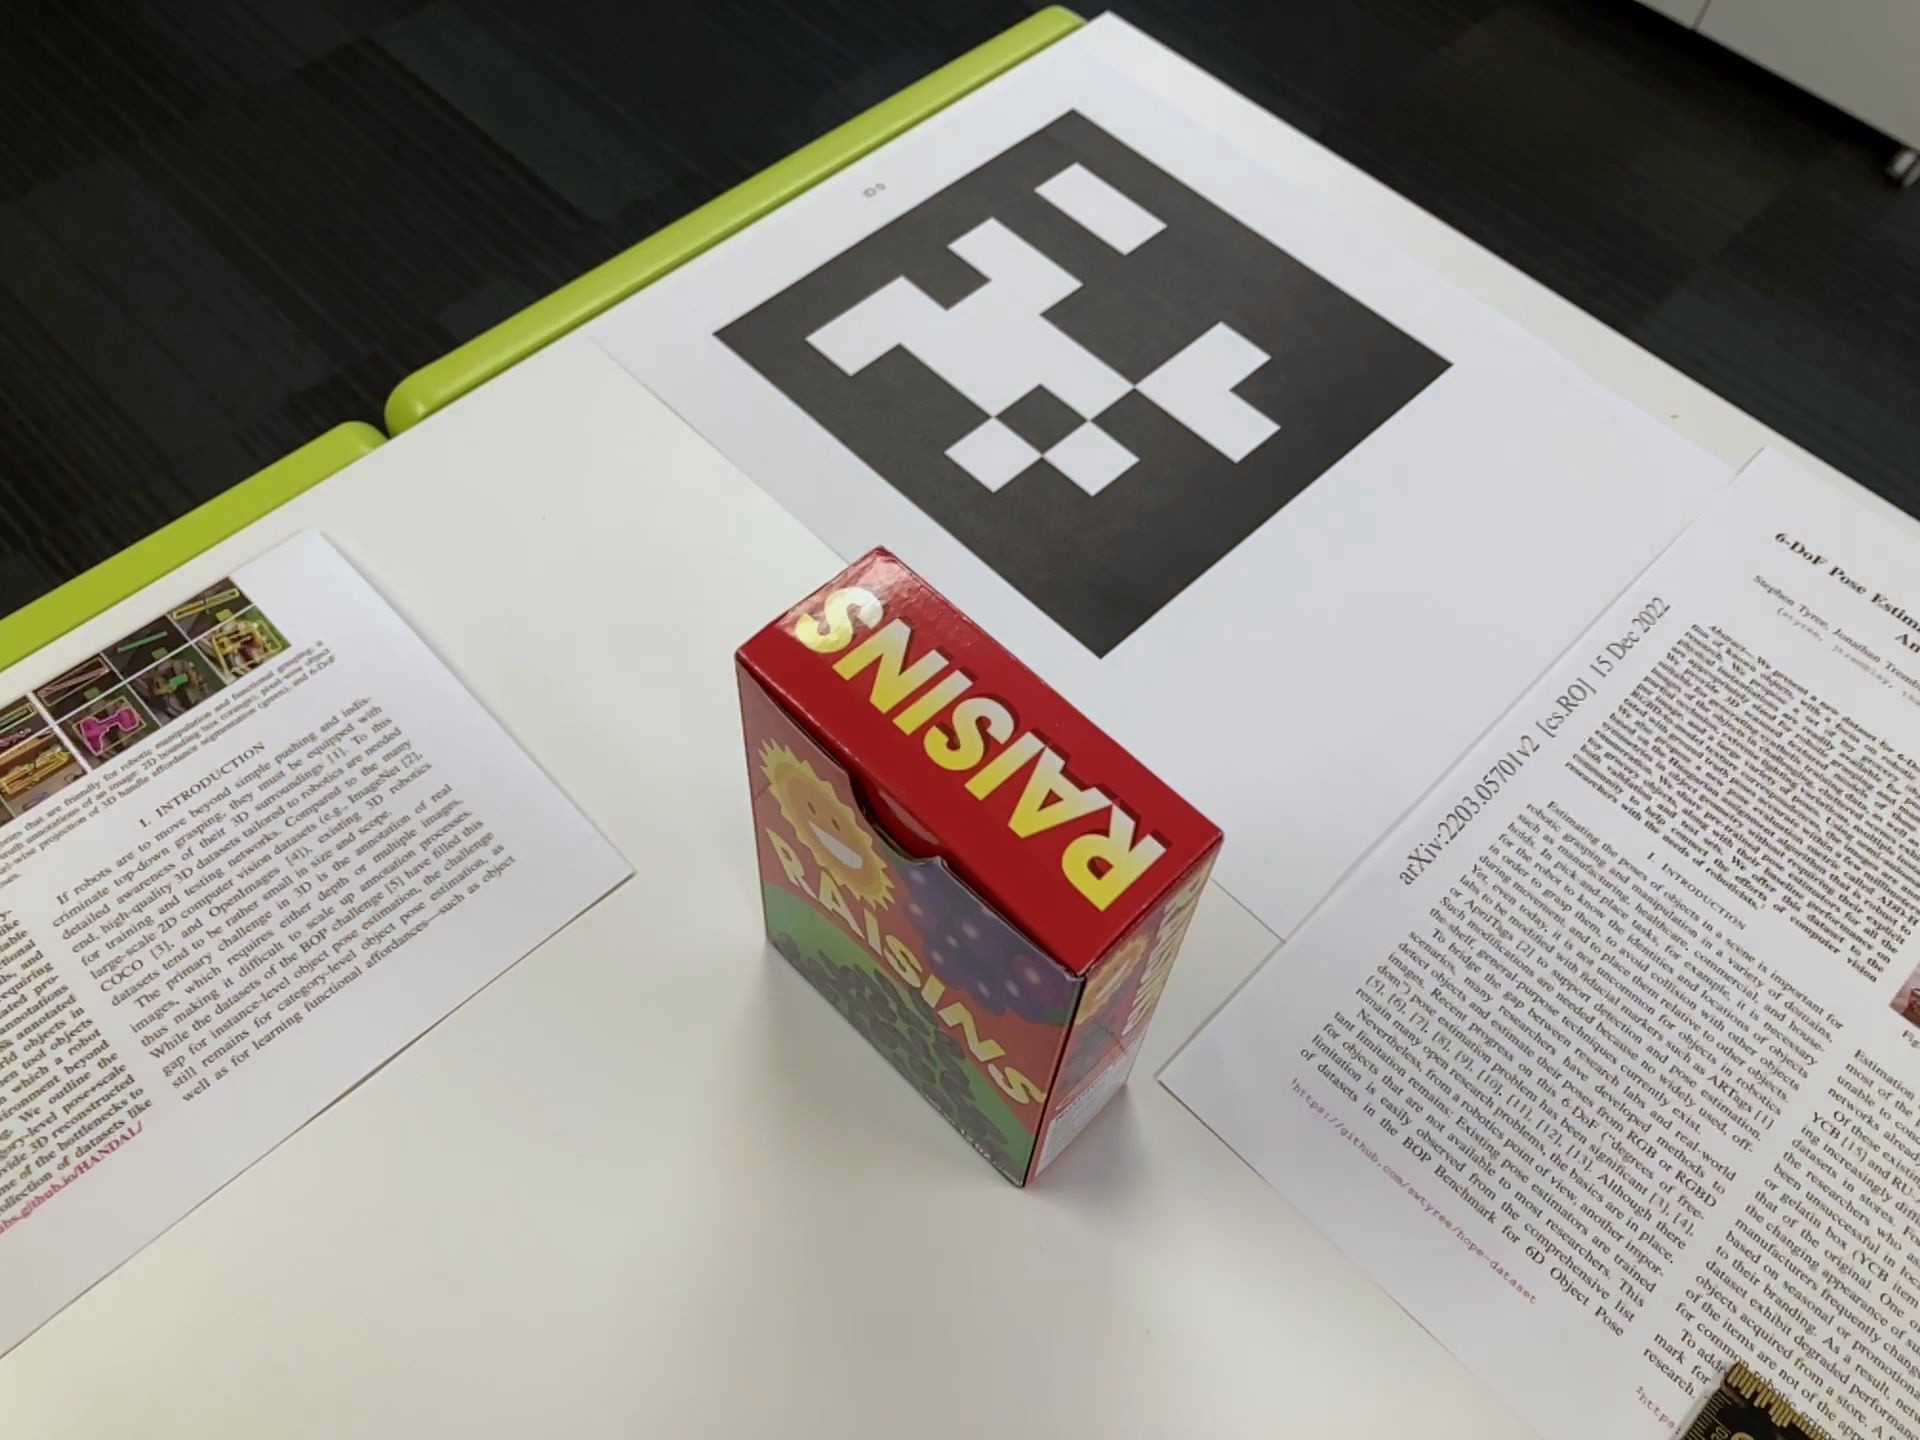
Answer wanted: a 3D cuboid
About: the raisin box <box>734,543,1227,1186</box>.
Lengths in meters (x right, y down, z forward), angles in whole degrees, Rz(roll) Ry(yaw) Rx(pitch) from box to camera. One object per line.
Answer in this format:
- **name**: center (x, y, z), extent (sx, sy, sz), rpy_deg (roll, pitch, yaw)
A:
- **raisin box**: center (-0.001, 0.035, 0.318), extent (0.040, 0.123, 0.086), rpy_deg (-39, 68, -24)
